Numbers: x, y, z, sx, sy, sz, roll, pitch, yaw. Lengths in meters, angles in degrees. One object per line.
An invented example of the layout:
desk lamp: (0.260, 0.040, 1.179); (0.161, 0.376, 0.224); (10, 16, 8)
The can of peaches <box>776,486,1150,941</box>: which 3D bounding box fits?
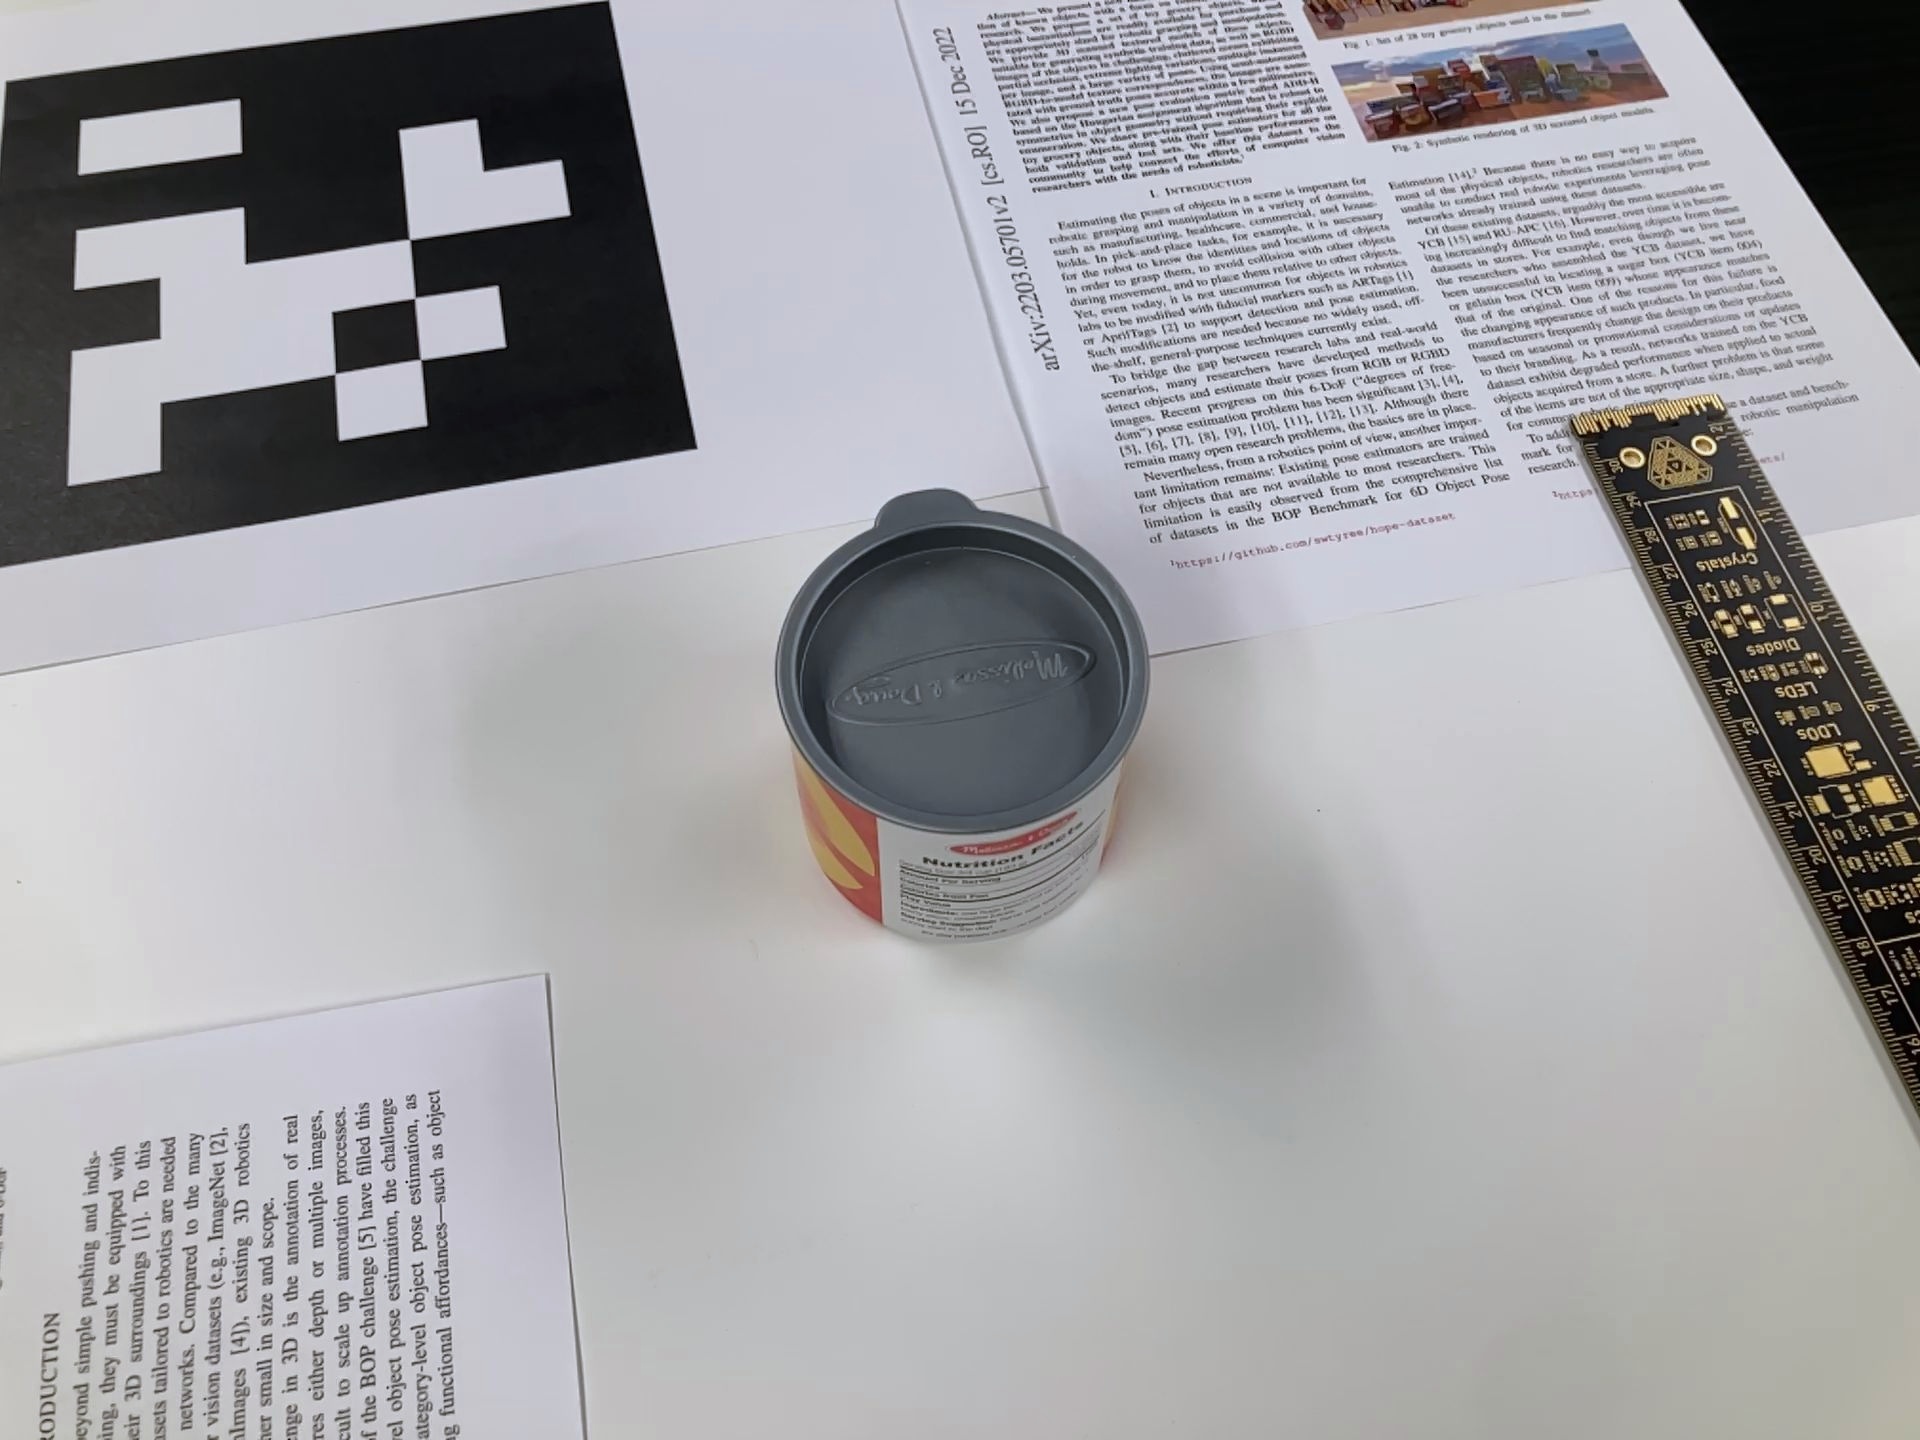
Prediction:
can of peaches: (0.000, 0.000, 0.306); (0.071, 0.058, 0.071); (0, 61, -1)
